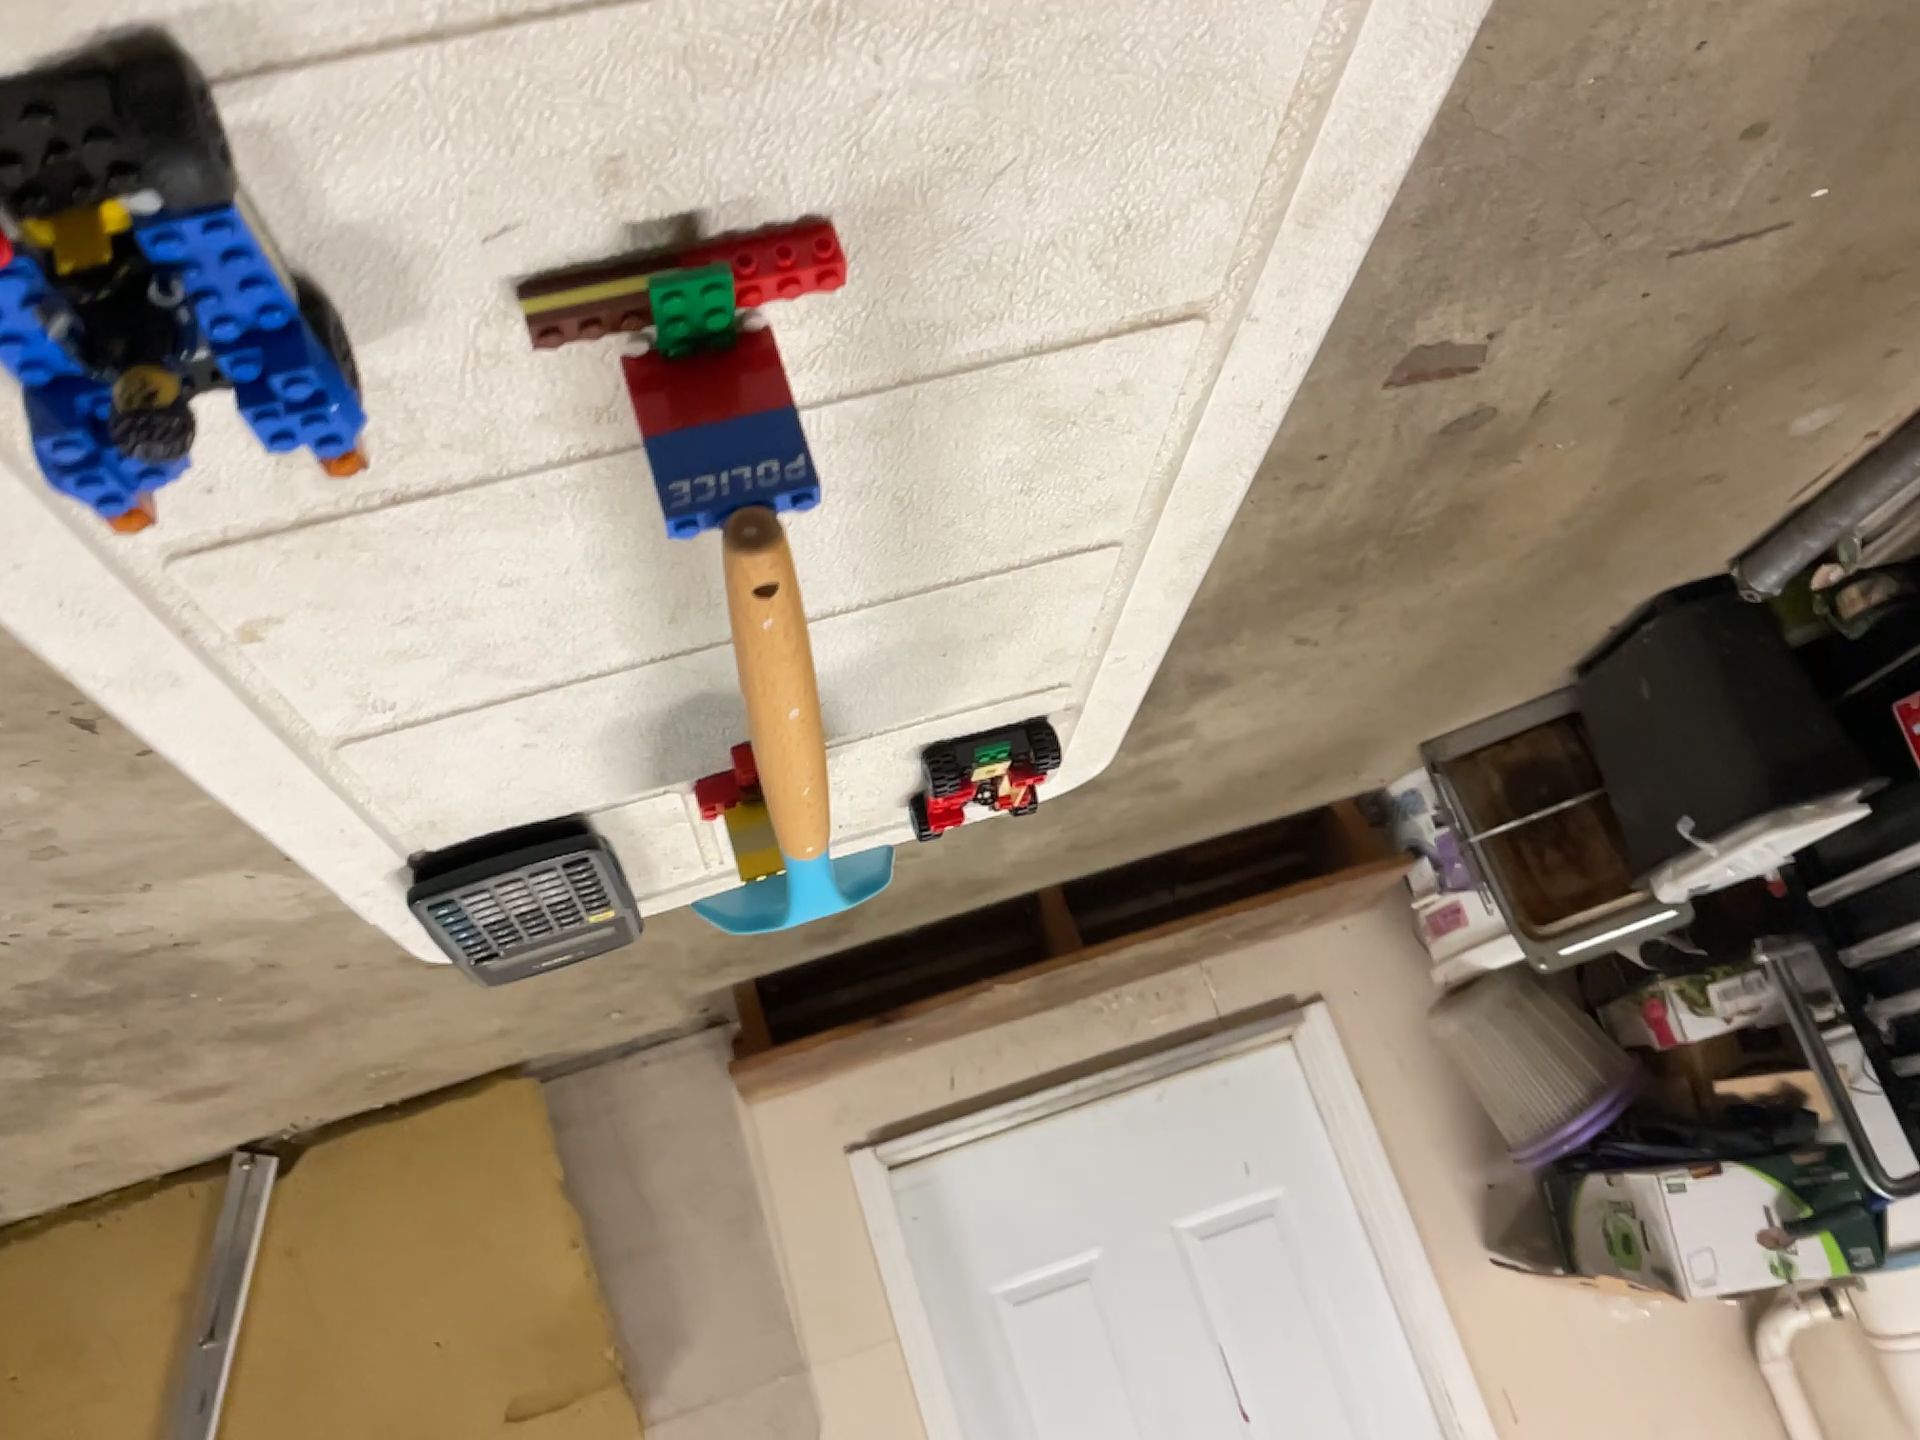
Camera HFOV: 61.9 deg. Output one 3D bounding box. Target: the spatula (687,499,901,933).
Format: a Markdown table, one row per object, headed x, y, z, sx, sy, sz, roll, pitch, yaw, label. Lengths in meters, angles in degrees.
| x | y | z | sx | sy | sz | roll | pitch | yaw | label |
| --- | --- | --- | --- | --- | --- | --- | --- | --- | --- |
| -0.050 | 0.015 | 0.459 | 0.082 | 0.044 | 0.317 | -15 | 158 | -9 | spatula |
